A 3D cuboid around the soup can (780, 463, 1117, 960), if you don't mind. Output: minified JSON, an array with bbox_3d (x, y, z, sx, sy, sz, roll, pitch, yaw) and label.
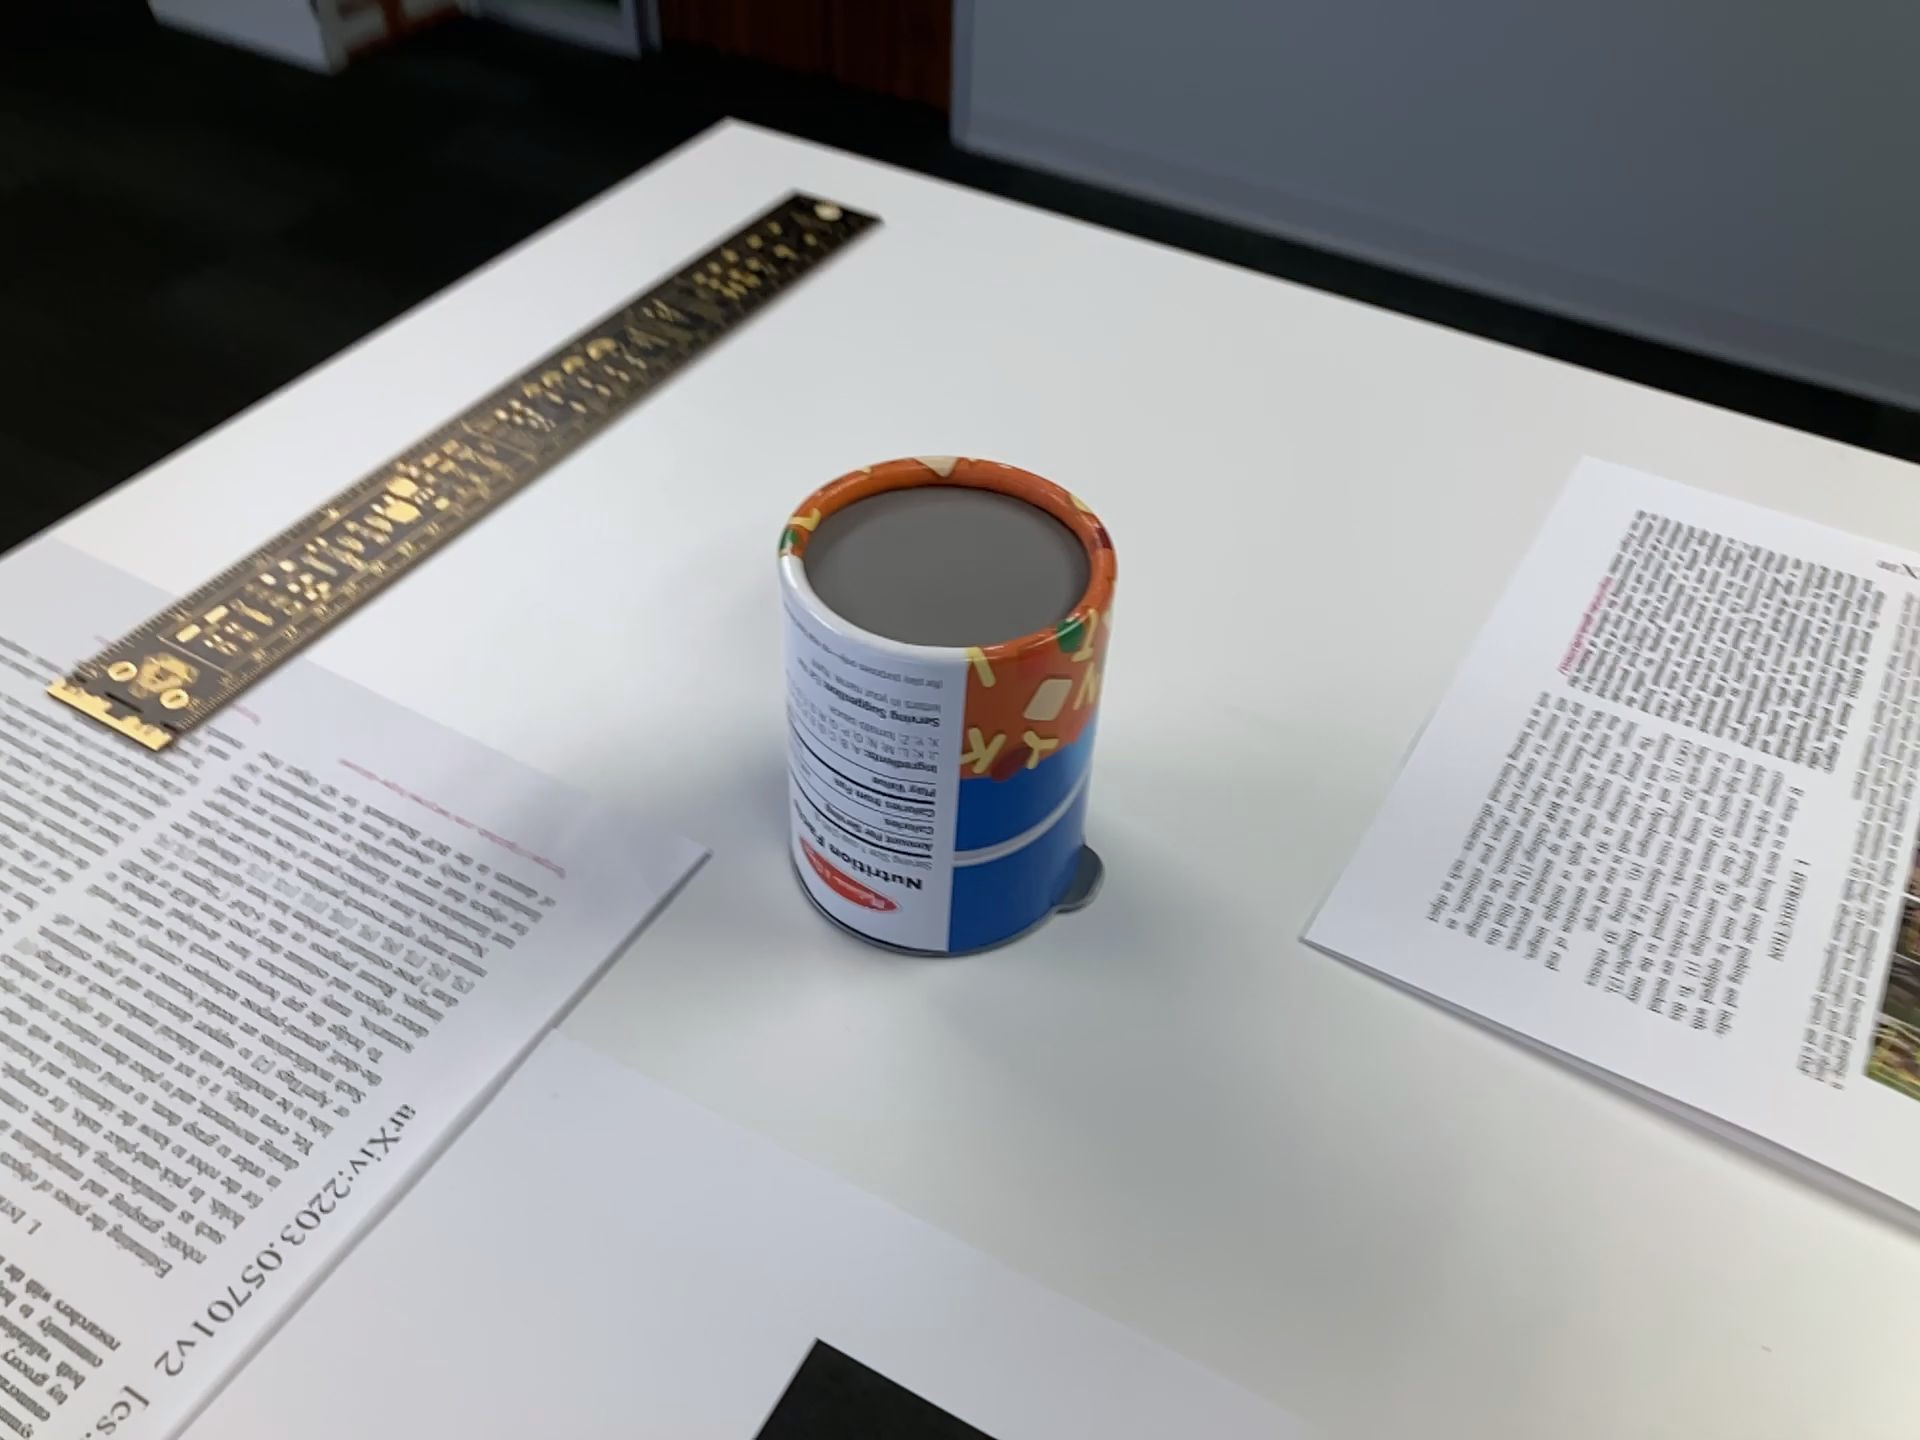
[{"bbox_3d":[-0.002,-0.003,0.336,0.071,0.084,0.071,2,44,-2],"label":"soup can"}]
